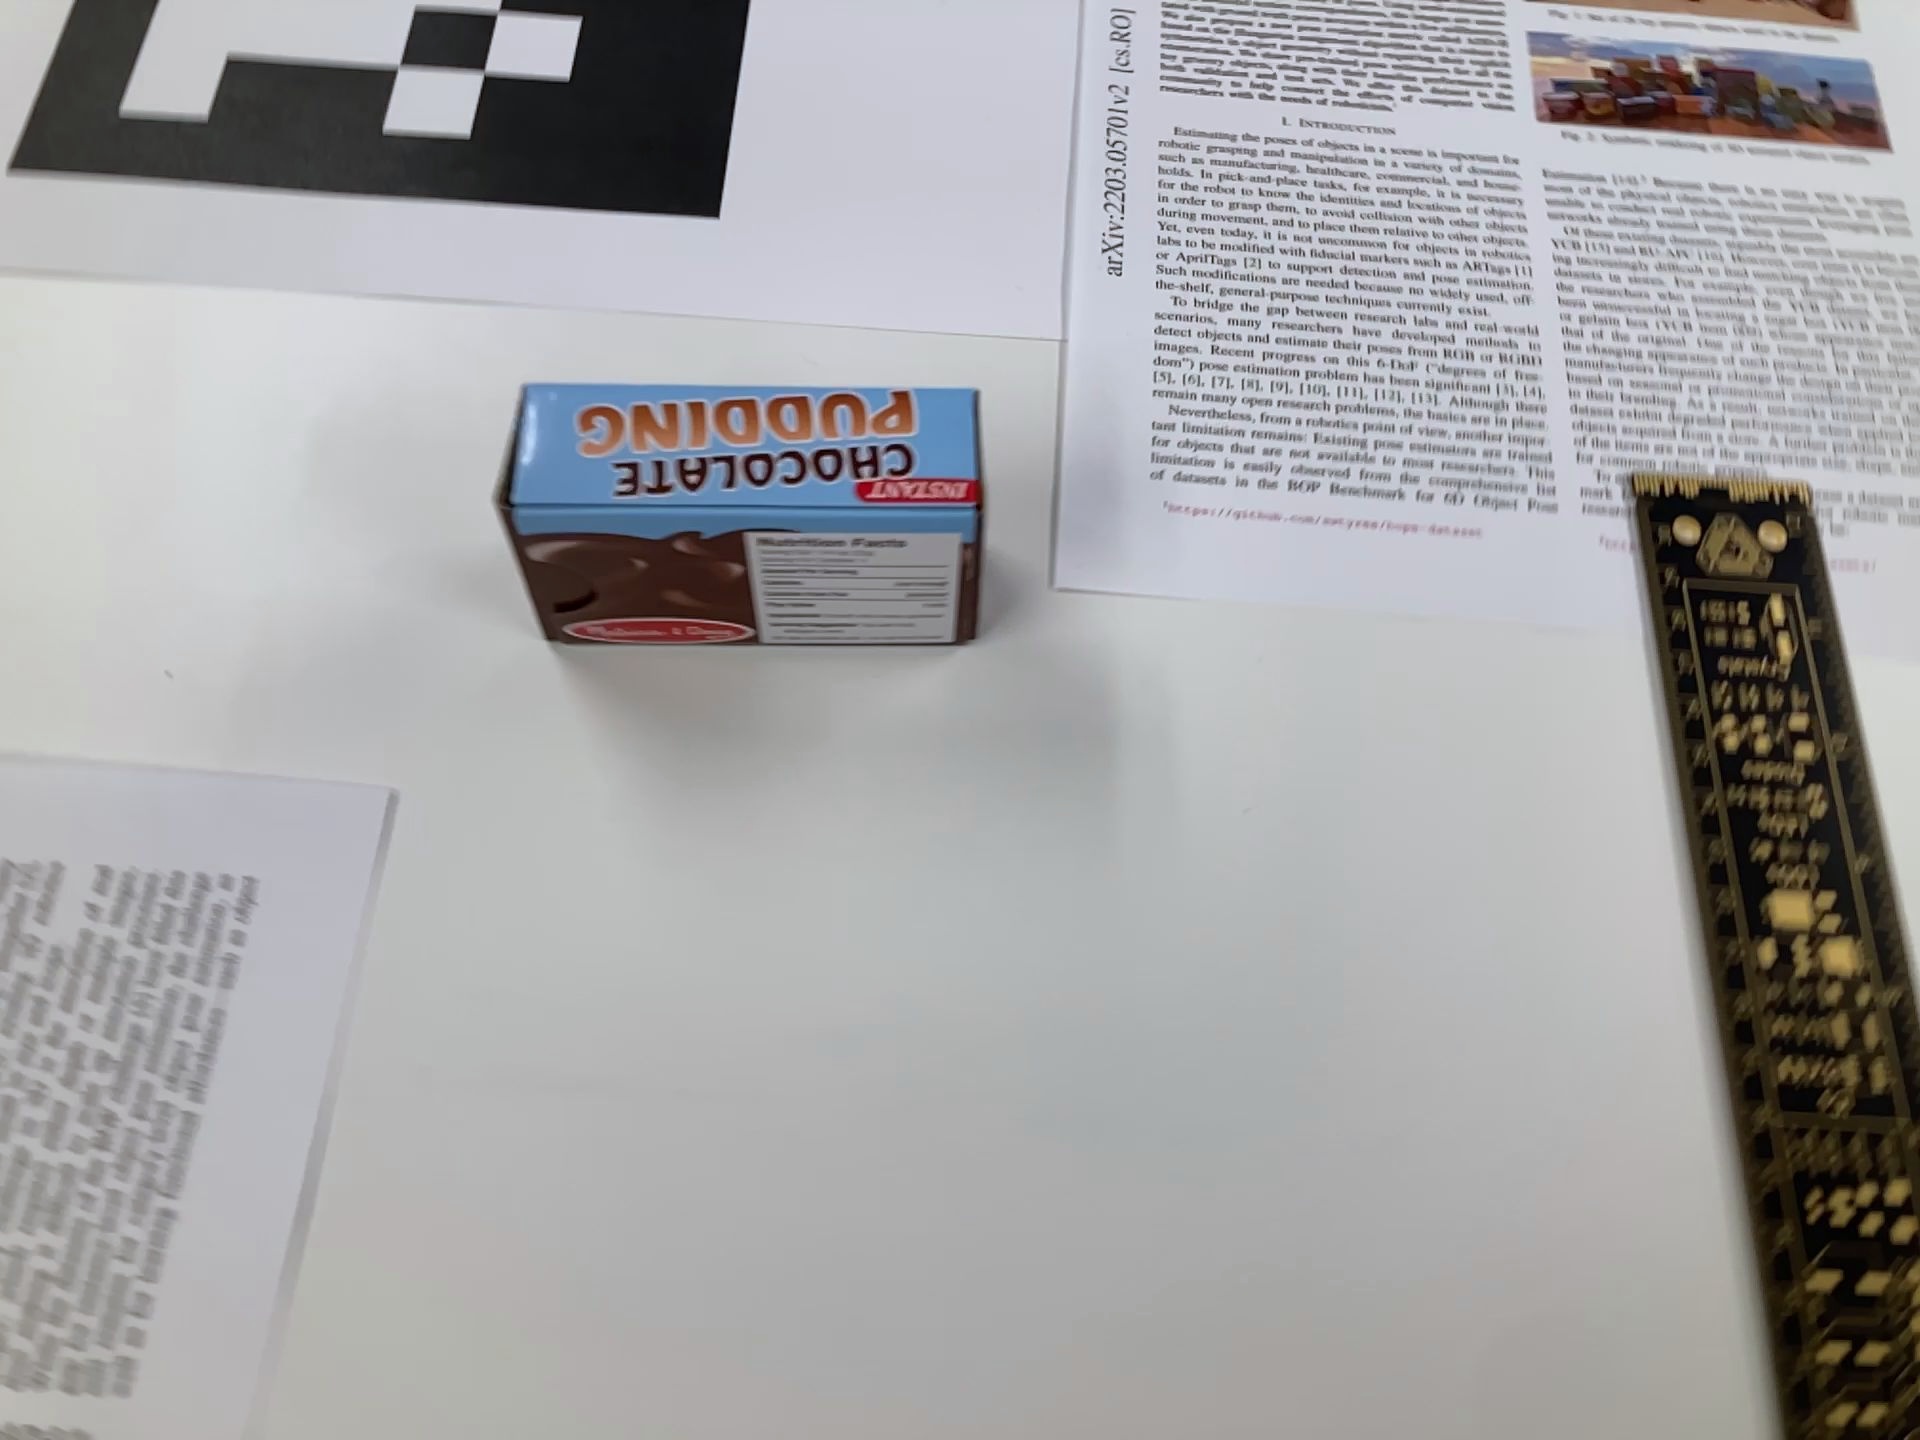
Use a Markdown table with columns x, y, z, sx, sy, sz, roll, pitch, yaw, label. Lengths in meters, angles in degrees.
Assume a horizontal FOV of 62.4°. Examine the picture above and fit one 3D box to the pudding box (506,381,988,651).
| x | y | z | sx | sy | sz | roll | pitch | yaw | label |
| --- | --- | --- | --- | --- | --- | --- | --- | --- | --- |
| -0.038 | -0.037 | 0.299 | 0.083 | 0.049 | 0.030 | 0 | 63 | -2 | pudding box |
